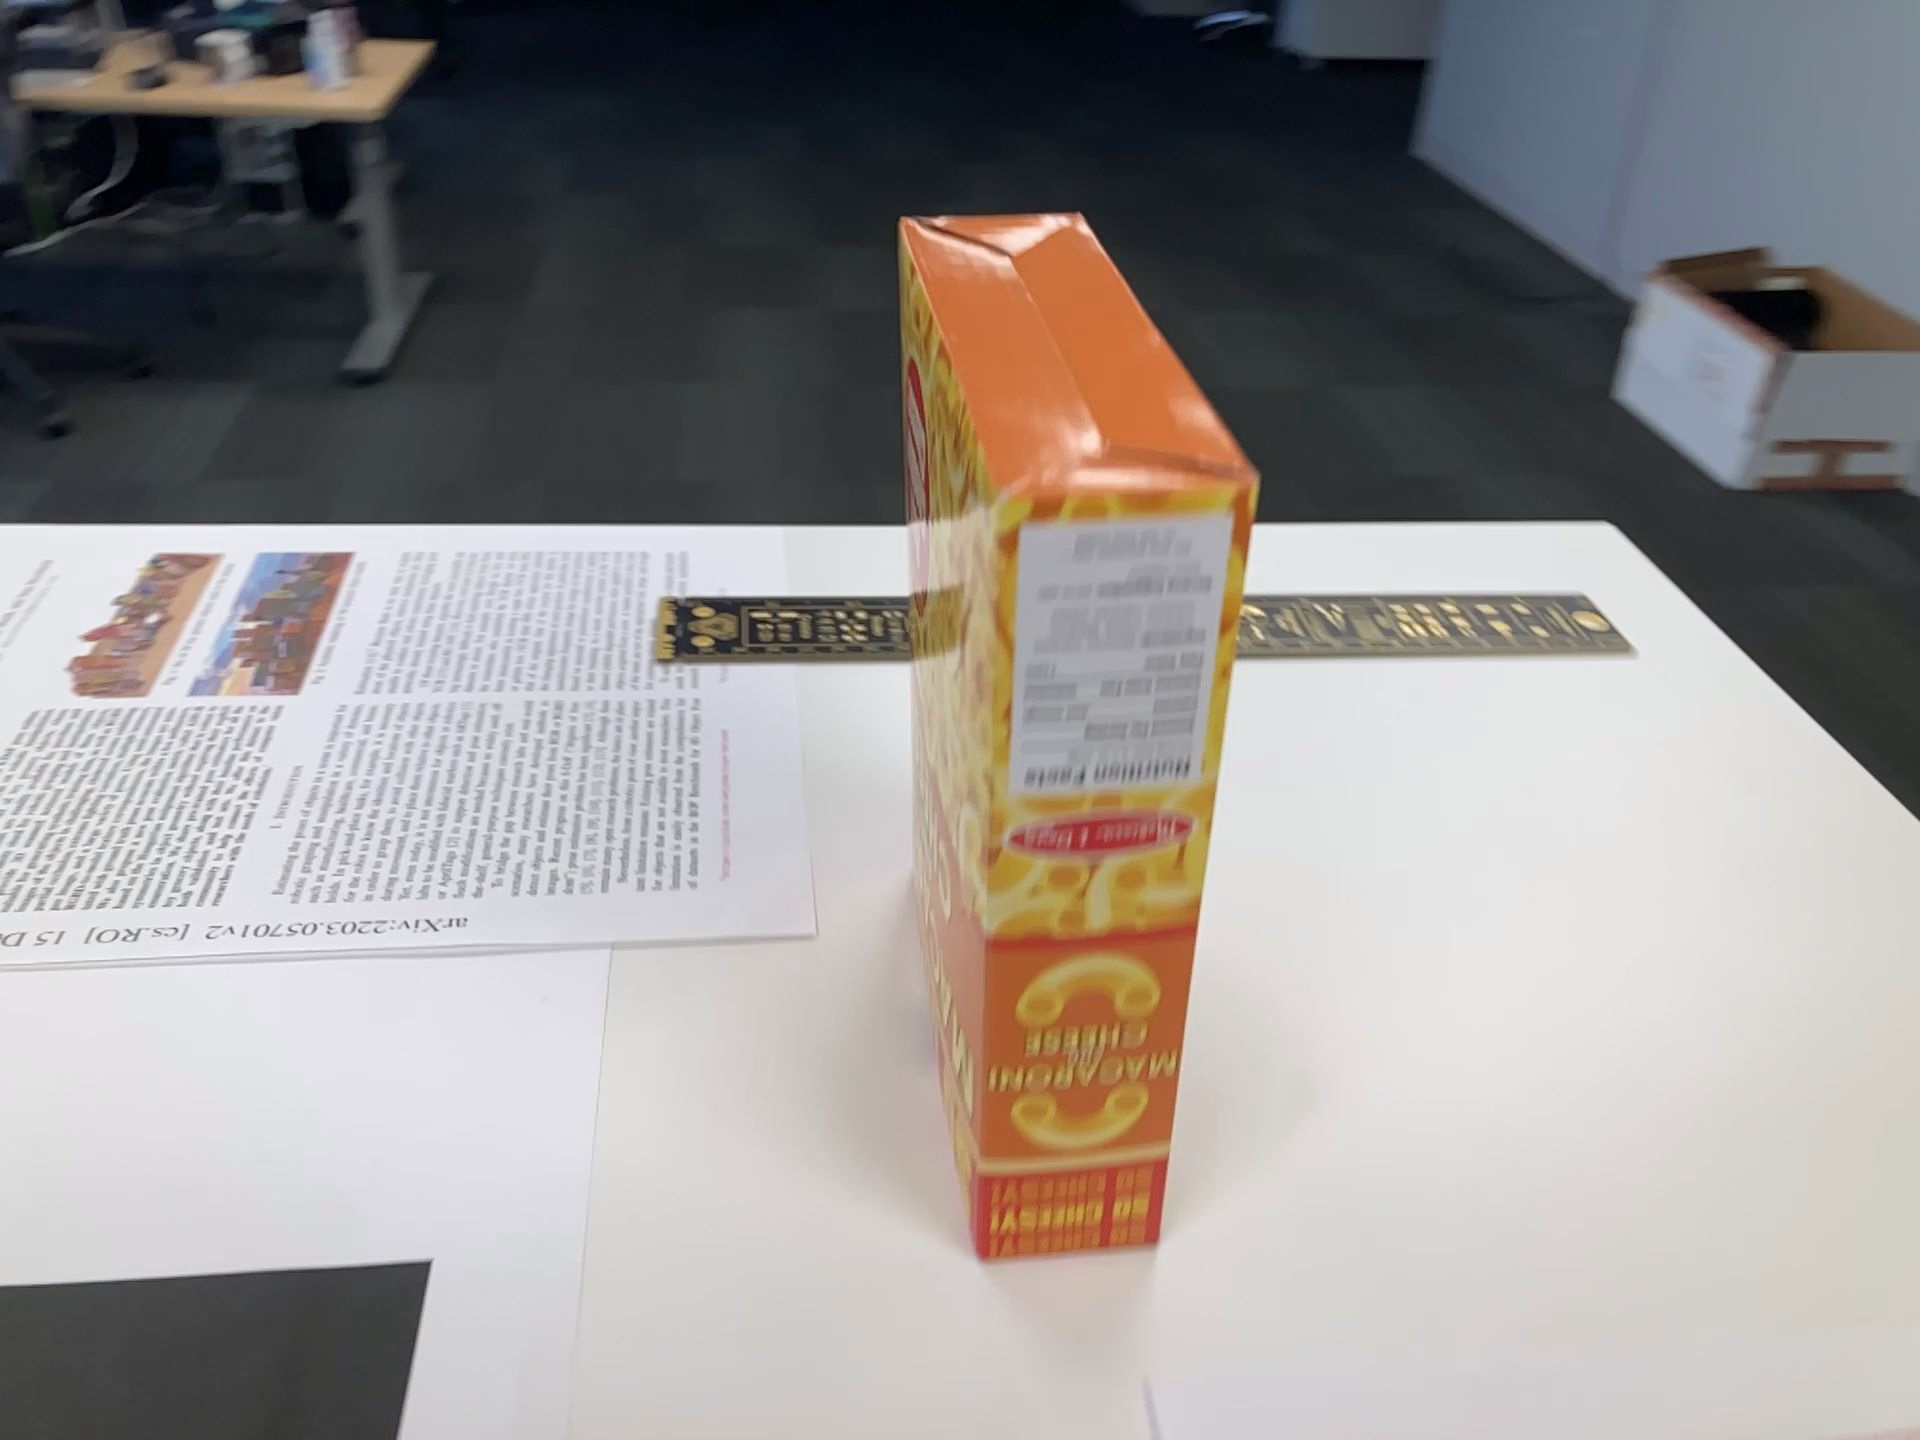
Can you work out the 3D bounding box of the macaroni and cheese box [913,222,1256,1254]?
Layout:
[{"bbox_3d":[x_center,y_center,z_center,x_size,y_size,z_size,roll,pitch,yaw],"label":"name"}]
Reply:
[{"bbox_3d":[0.015,0.002,0.317,0.040,0.166,0.124,-3,35,-6],"label":"macaroni and cheese box"}]
